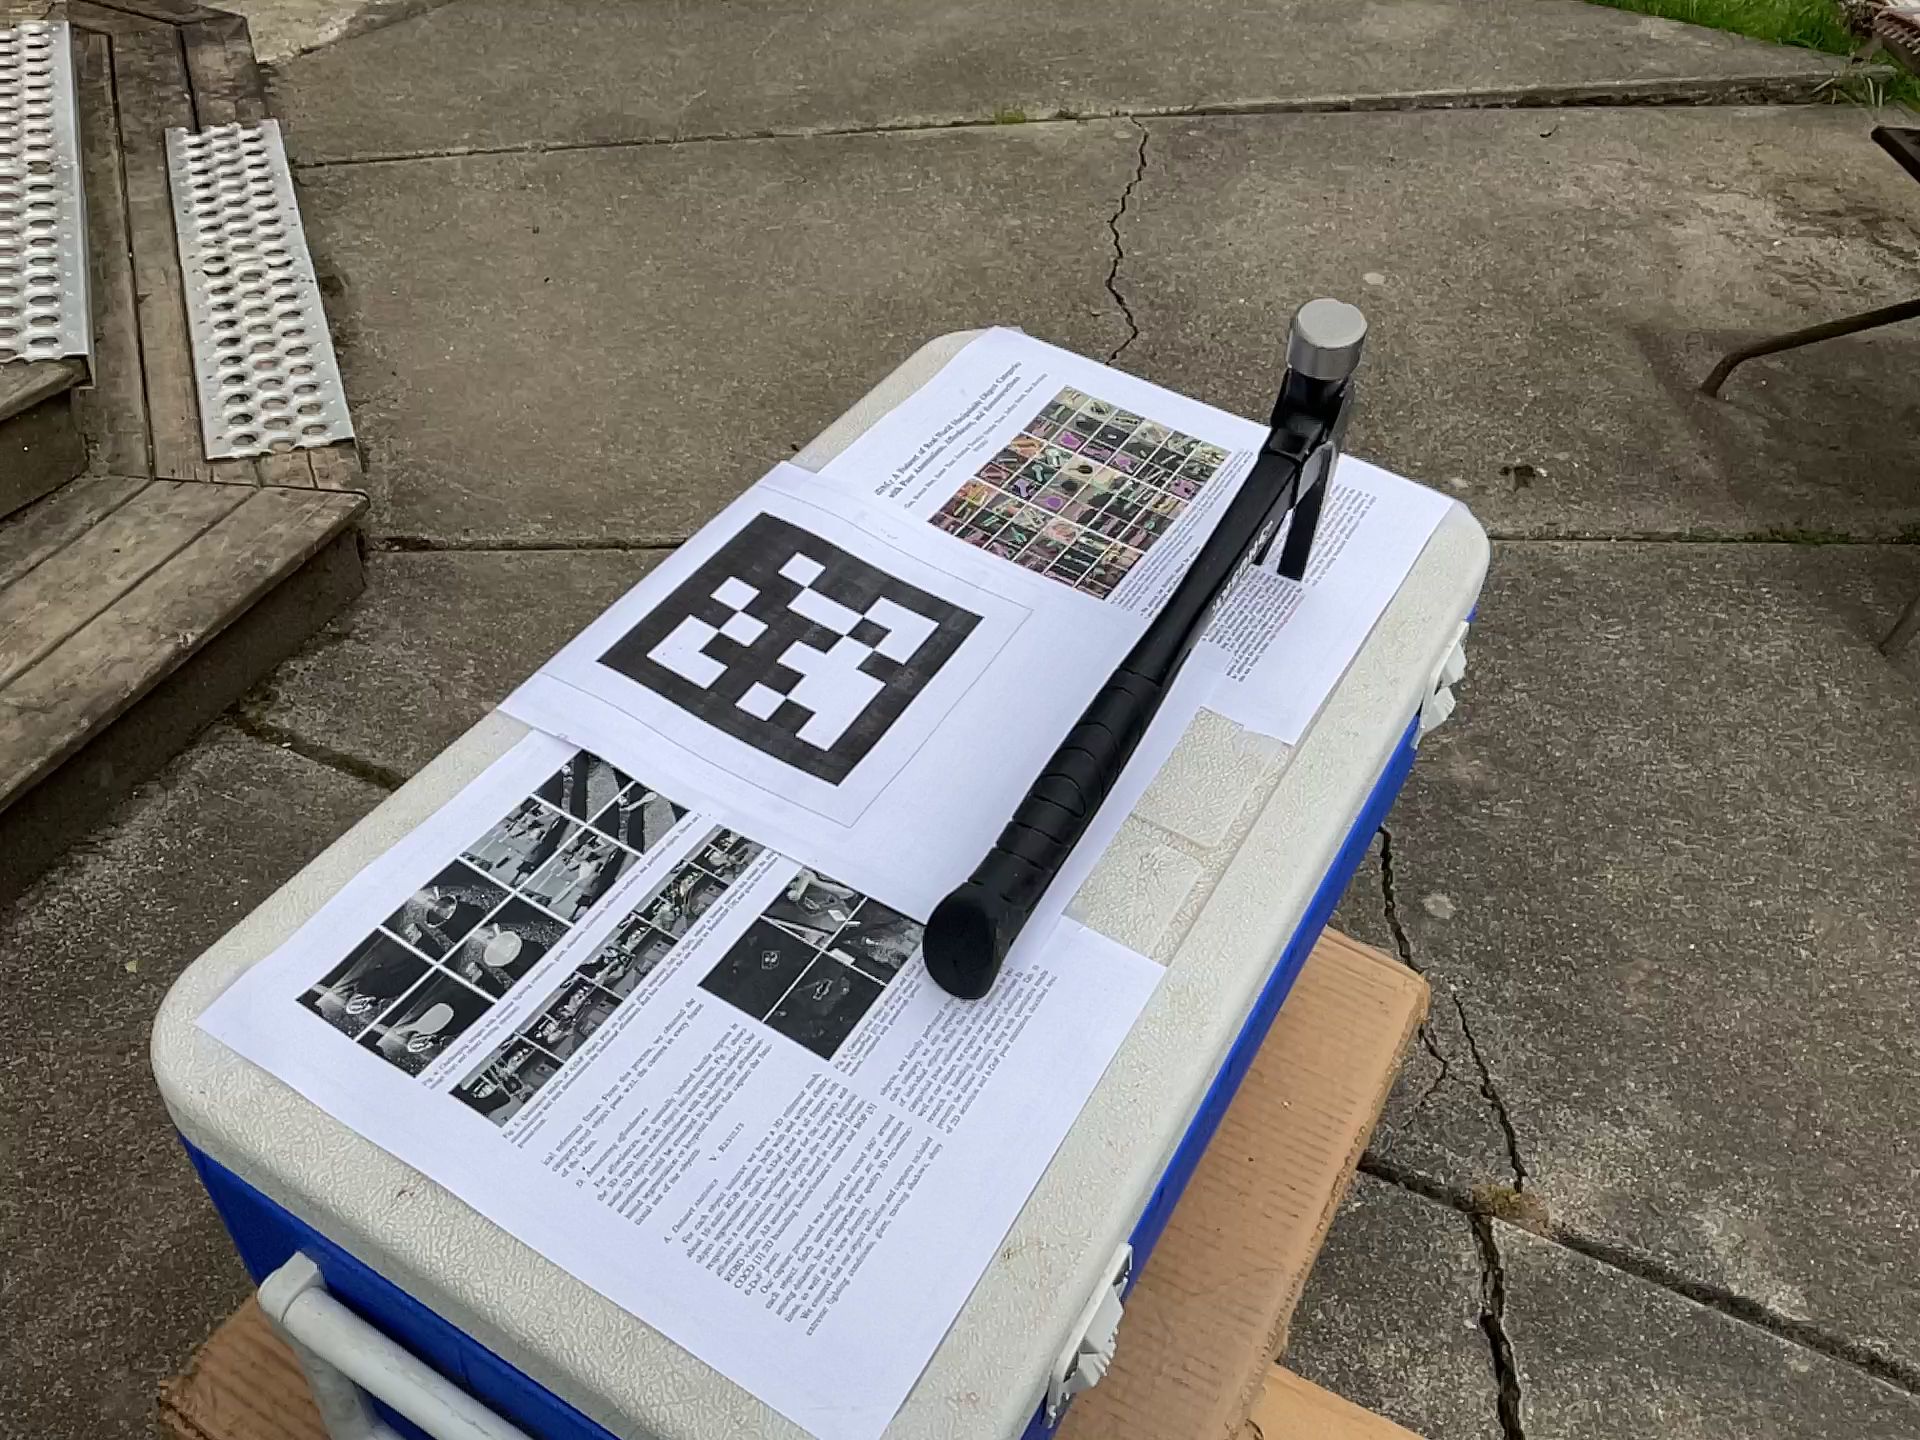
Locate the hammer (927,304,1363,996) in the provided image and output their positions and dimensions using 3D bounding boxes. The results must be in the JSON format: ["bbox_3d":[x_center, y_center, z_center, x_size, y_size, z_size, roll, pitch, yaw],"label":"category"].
[{"bbox_3d":[0.084,-0.022,0.679,0.035,0.146,0.334,25,59,19],"label":"hammer"}]
